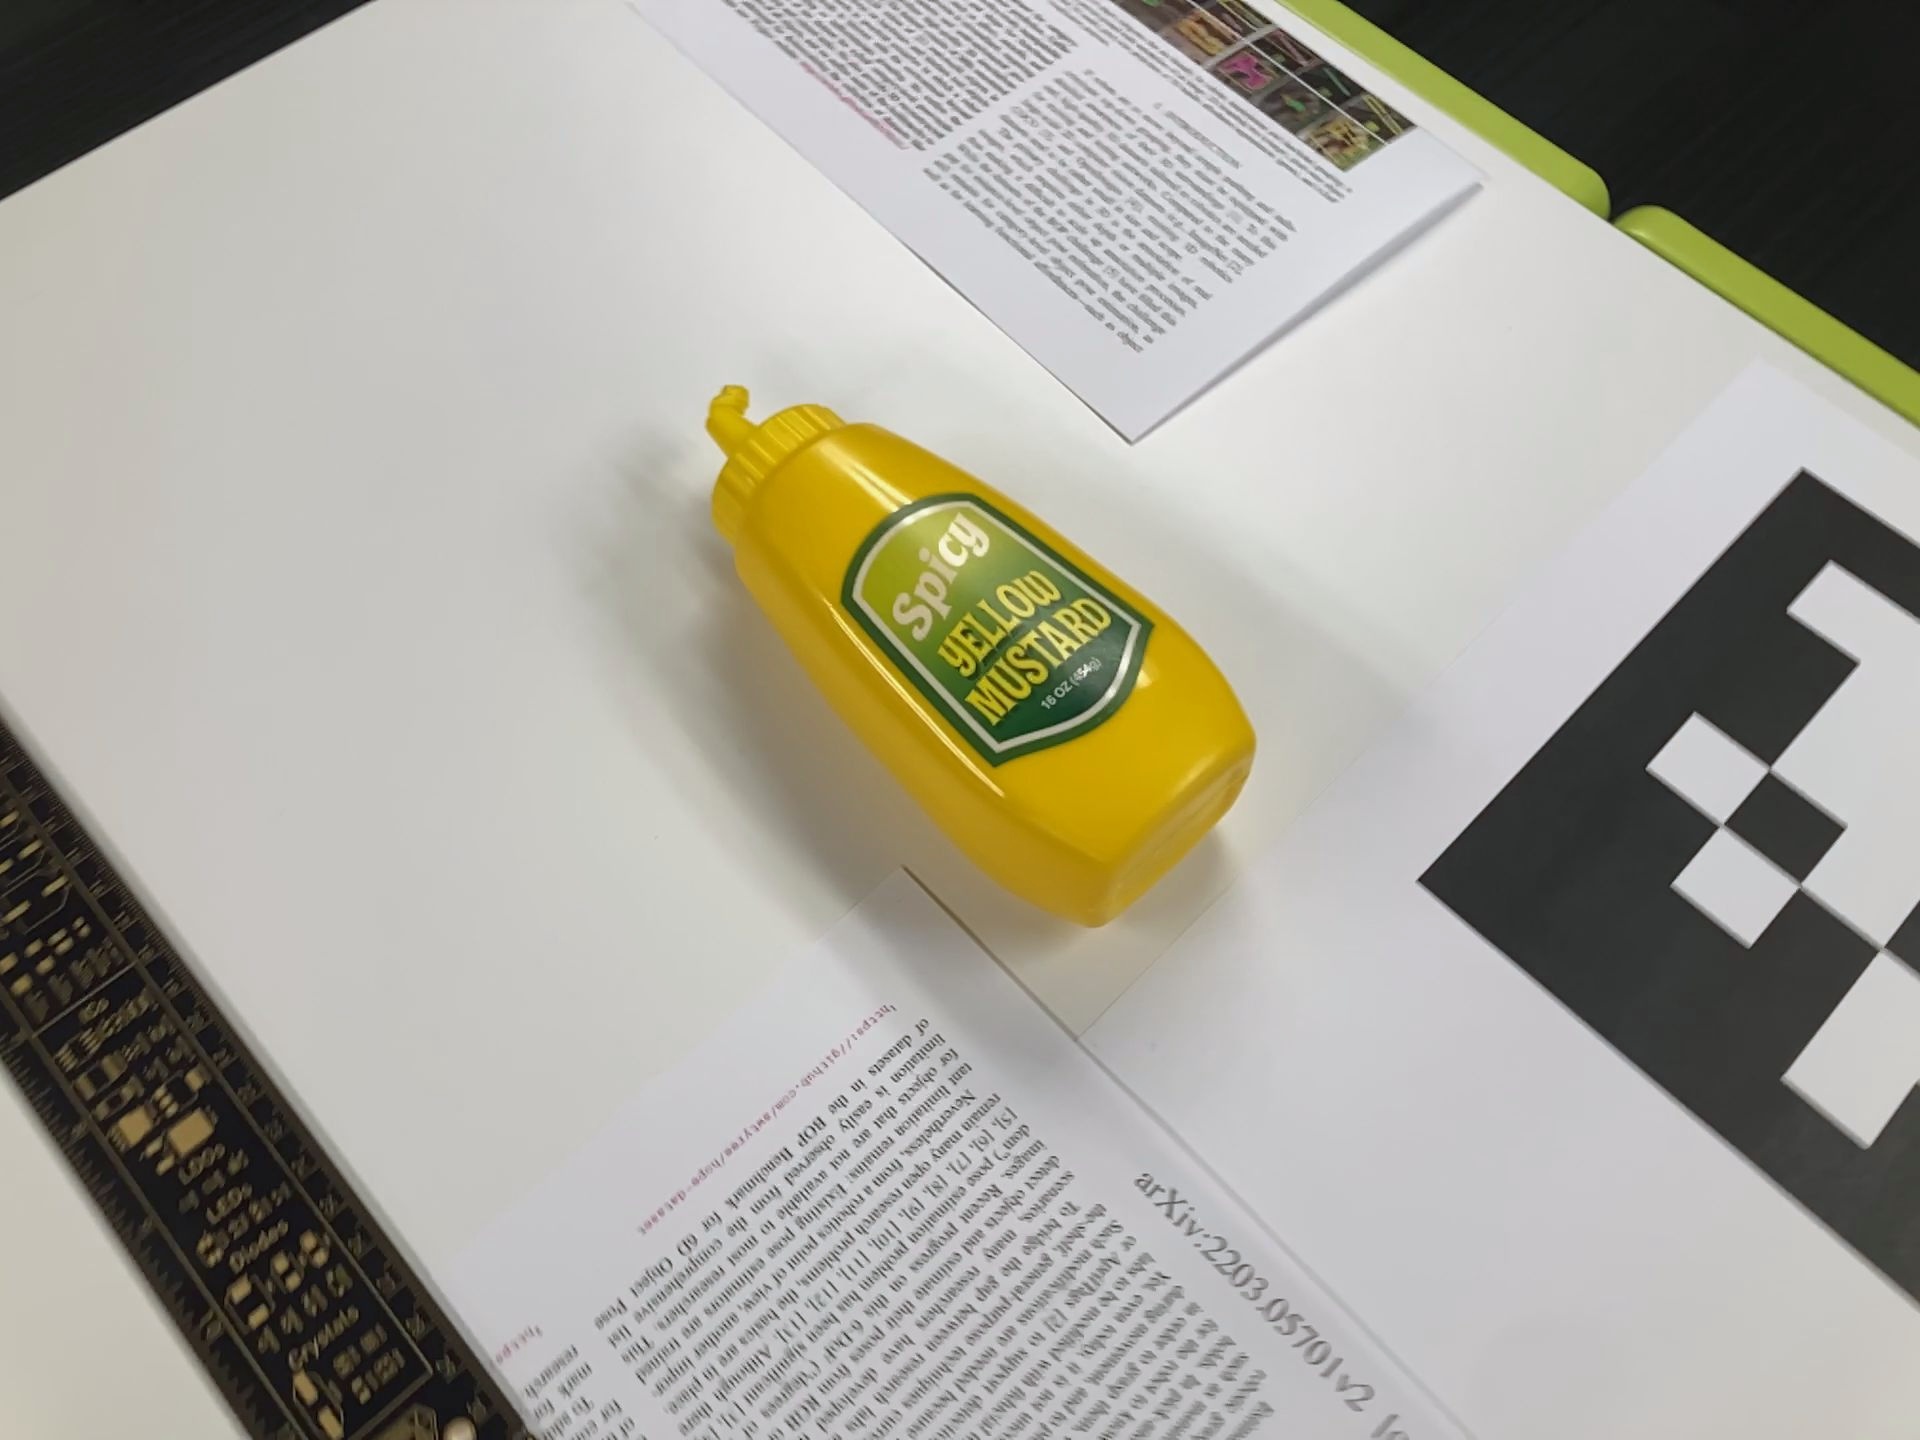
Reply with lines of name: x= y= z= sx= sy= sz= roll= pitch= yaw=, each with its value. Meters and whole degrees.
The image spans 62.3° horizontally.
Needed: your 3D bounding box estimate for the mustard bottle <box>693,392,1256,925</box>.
mustard bottle: x=-0.010 y=-0.027 z=0.354 sx=0.065 sy=0.049 sz=0.160 roll=-41 pitch=70 yaw=-21
